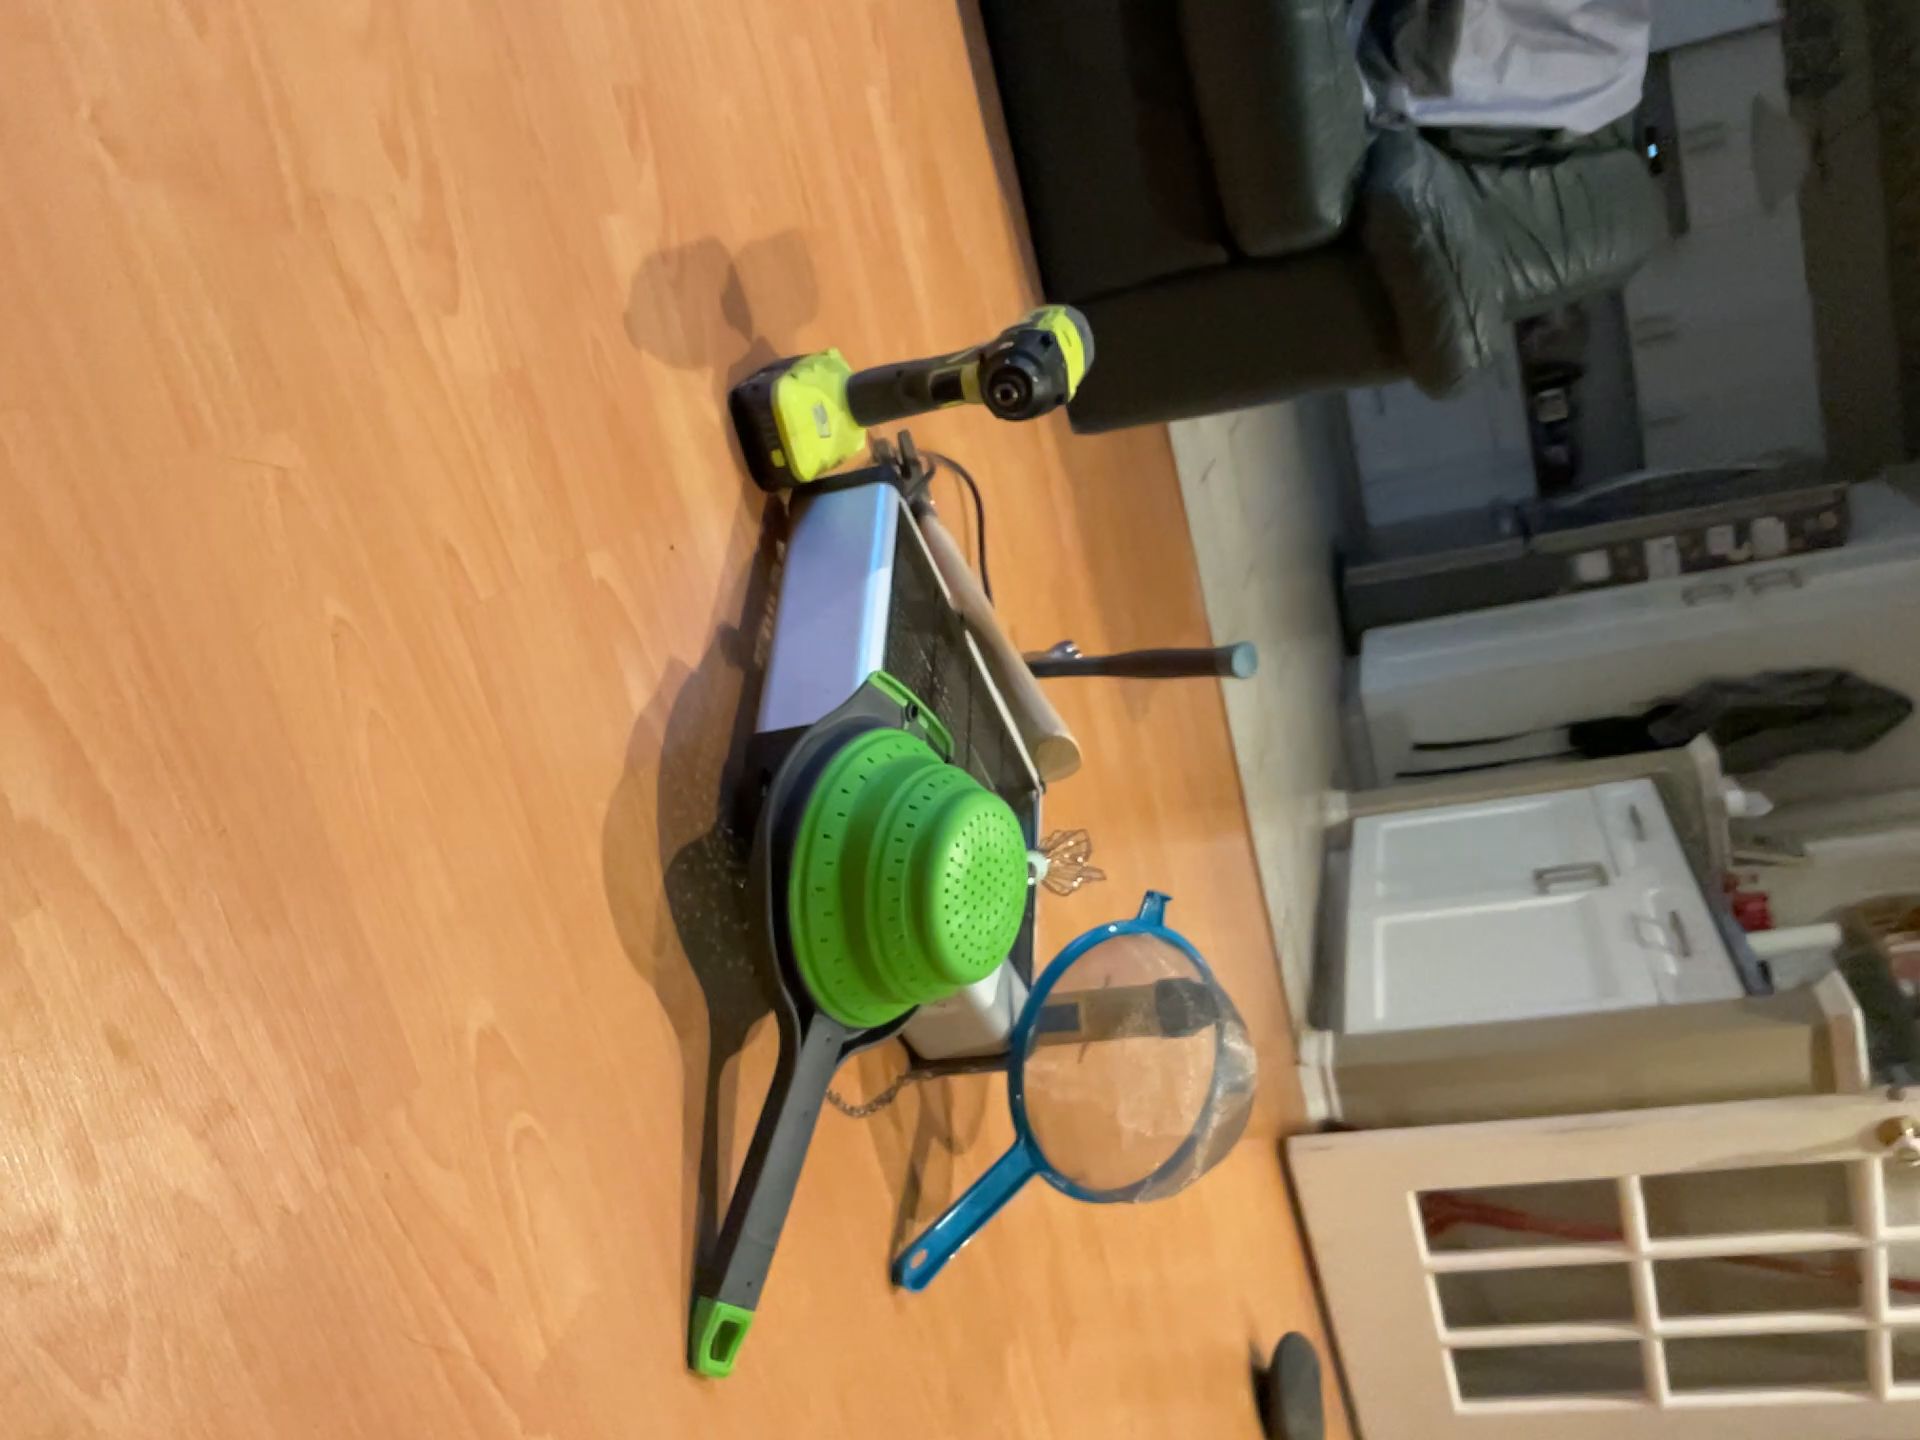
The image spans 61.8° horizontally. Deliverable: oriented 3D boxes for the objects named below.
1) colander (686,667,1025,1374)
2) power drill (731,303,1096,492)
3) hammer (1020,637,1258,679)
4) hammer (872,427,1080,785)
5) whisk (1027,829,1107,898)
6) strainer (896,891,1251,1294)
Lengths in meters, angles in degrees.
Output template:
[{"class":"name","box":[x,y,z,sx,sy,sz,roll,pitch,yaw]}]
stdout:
[{"class":"colander","box":[-0.049,0.164,0.892,0.204,0.094,0.397,46,54,-50]},{"class":"power drill","box":[-0.030,-0.220,1.078,0.171,0.223,0.080,-59,136,-63]},{"class":"hammer","box":[0.144,-0.051,1.441,0.128,0.331,0.033,-17,100,-32]},{"class":"hammer","box":[0.009,-0.084,1.186,0.411,0.038,0.146,-116,-175,-57]},{"class":"whisk","box":[0.057,0.112,1.211,0.246,0.059,0.057,8,103,-68]},{"class":"strainer","box":[0.099,0.292,1.142,0.341,0.095,0.210,-38,112,-30]}]
